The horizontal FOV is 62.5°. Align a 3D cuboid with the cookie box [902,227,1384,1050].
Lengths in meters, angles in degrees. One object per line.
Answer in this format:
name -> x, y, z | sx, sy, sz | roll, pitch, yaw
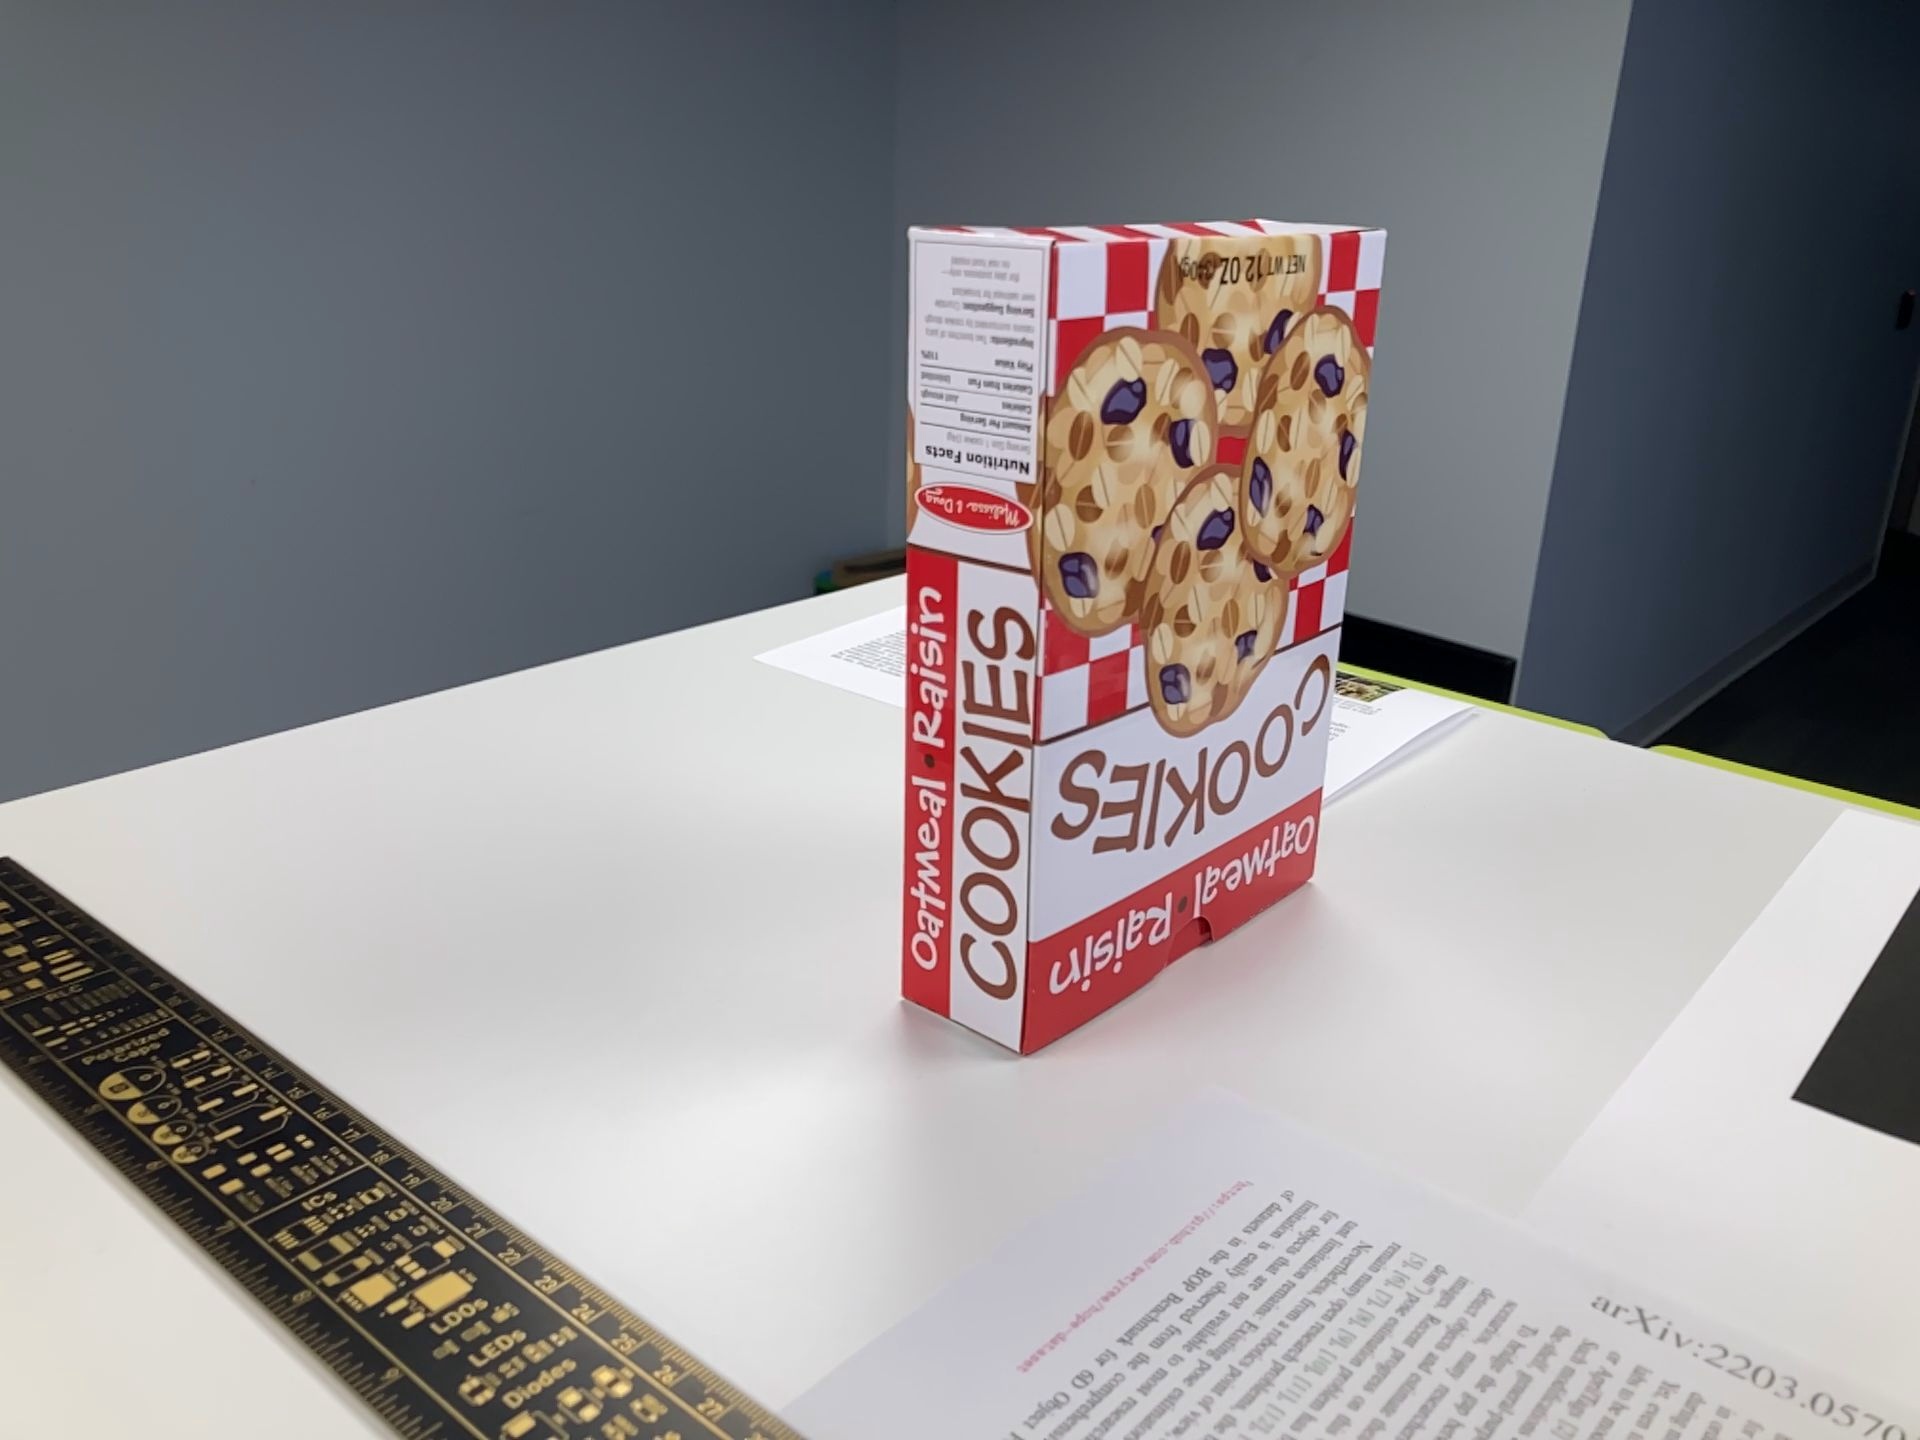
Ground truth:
cookie box -> 0.043, -0.025, 0.363 | 0.040, 0.167, 0.123 | 18, 24, 38
